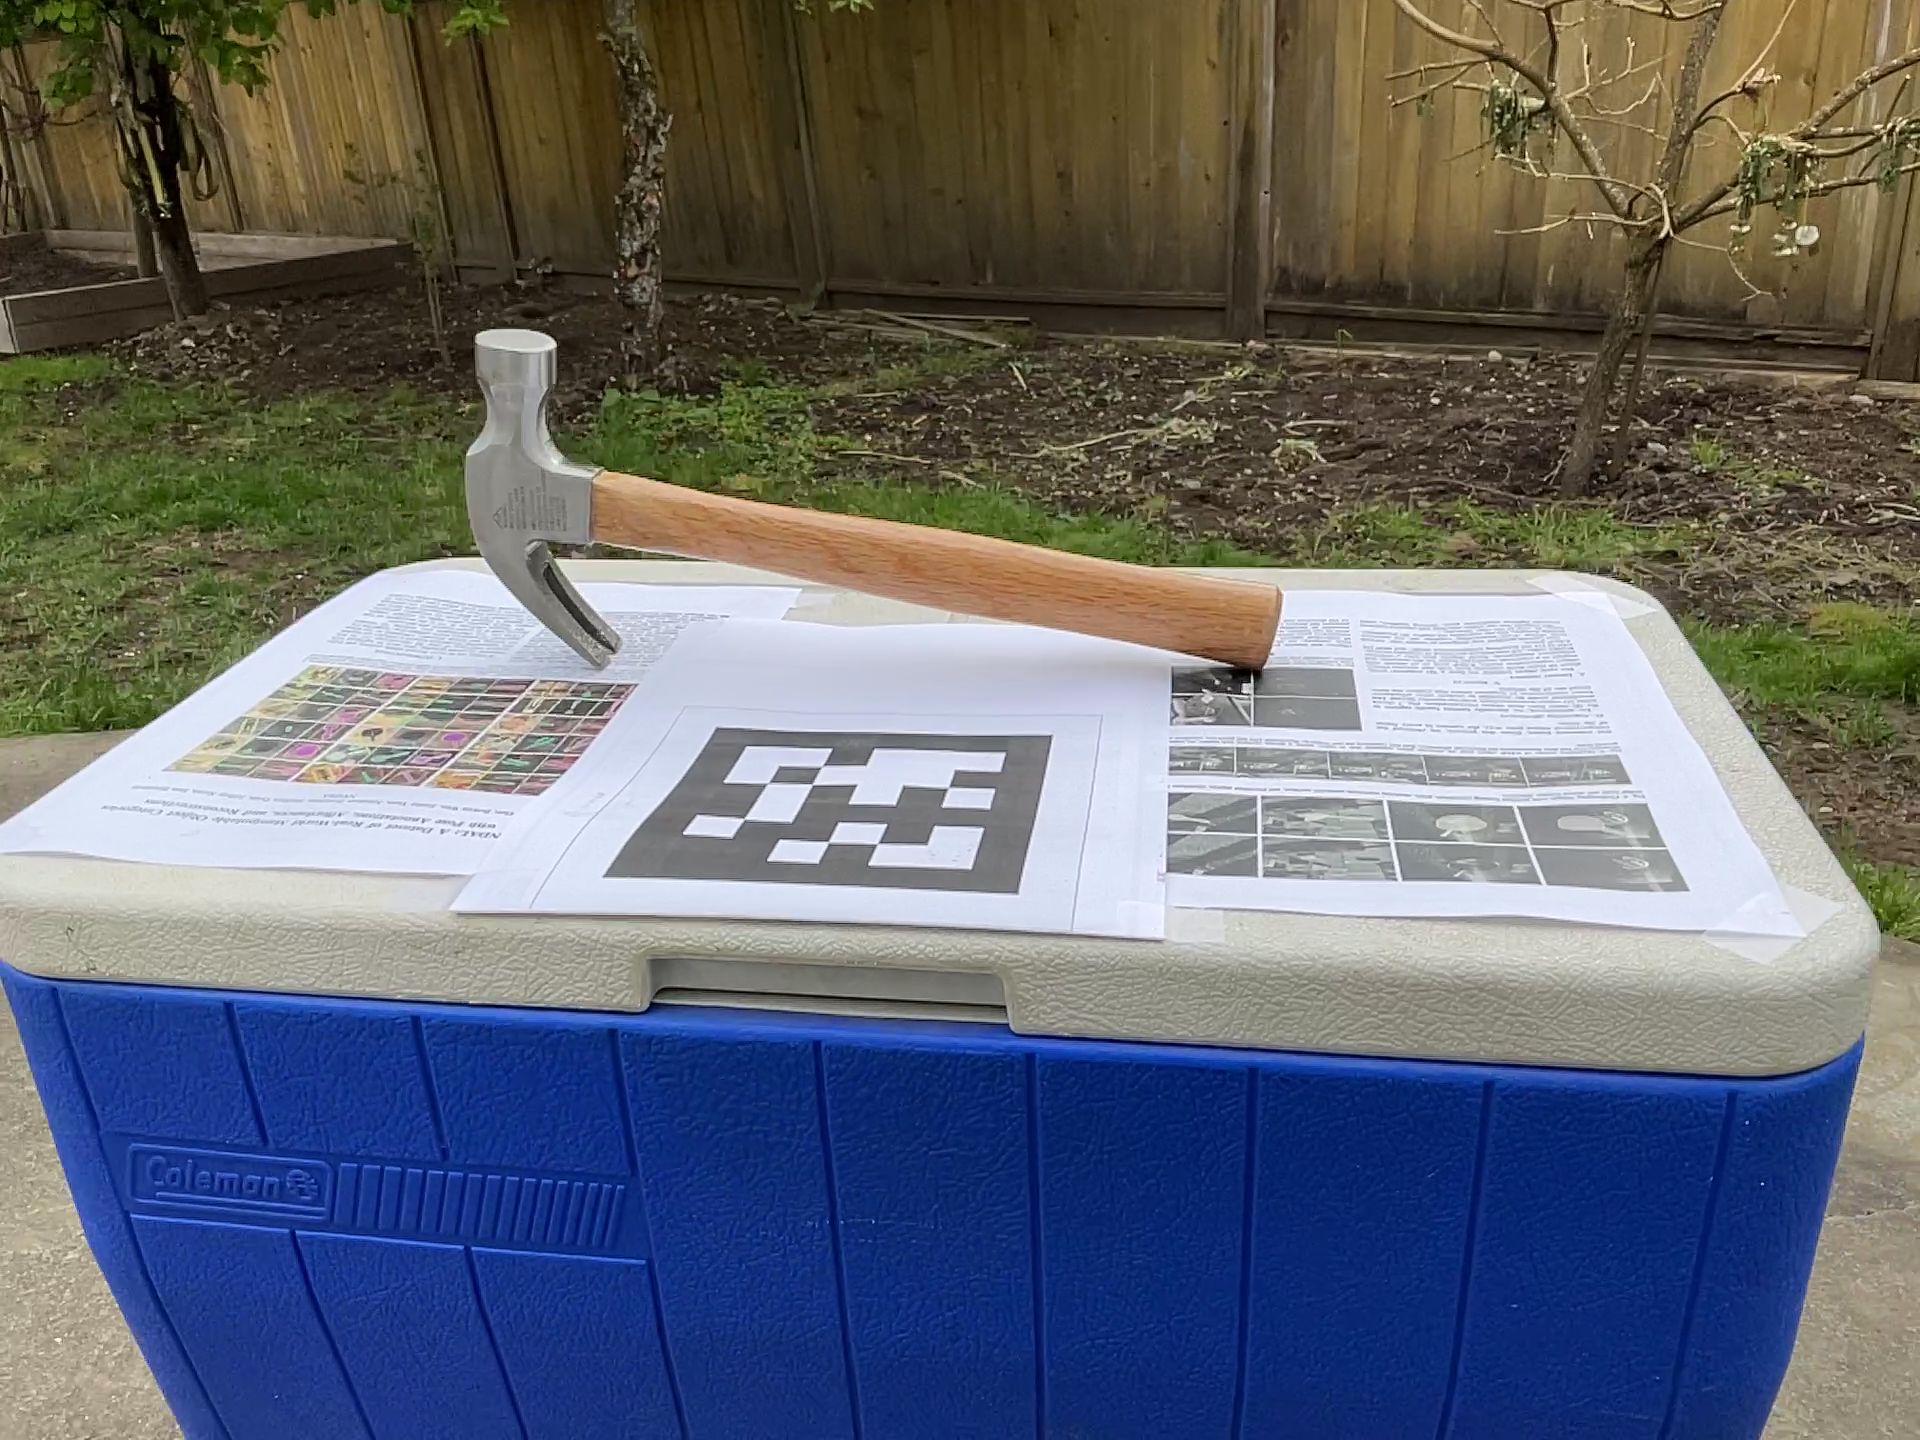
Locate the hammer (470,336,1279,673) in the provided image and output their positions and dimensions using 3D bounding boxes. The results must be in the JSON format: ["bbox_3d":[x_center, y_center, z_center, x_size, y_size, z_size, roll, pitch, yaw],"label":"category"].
[{"bbox_3d":[-0.038,-0.064,0.654,0.331,0.130,0.031,11,27,4],"label":"hammer"}]
